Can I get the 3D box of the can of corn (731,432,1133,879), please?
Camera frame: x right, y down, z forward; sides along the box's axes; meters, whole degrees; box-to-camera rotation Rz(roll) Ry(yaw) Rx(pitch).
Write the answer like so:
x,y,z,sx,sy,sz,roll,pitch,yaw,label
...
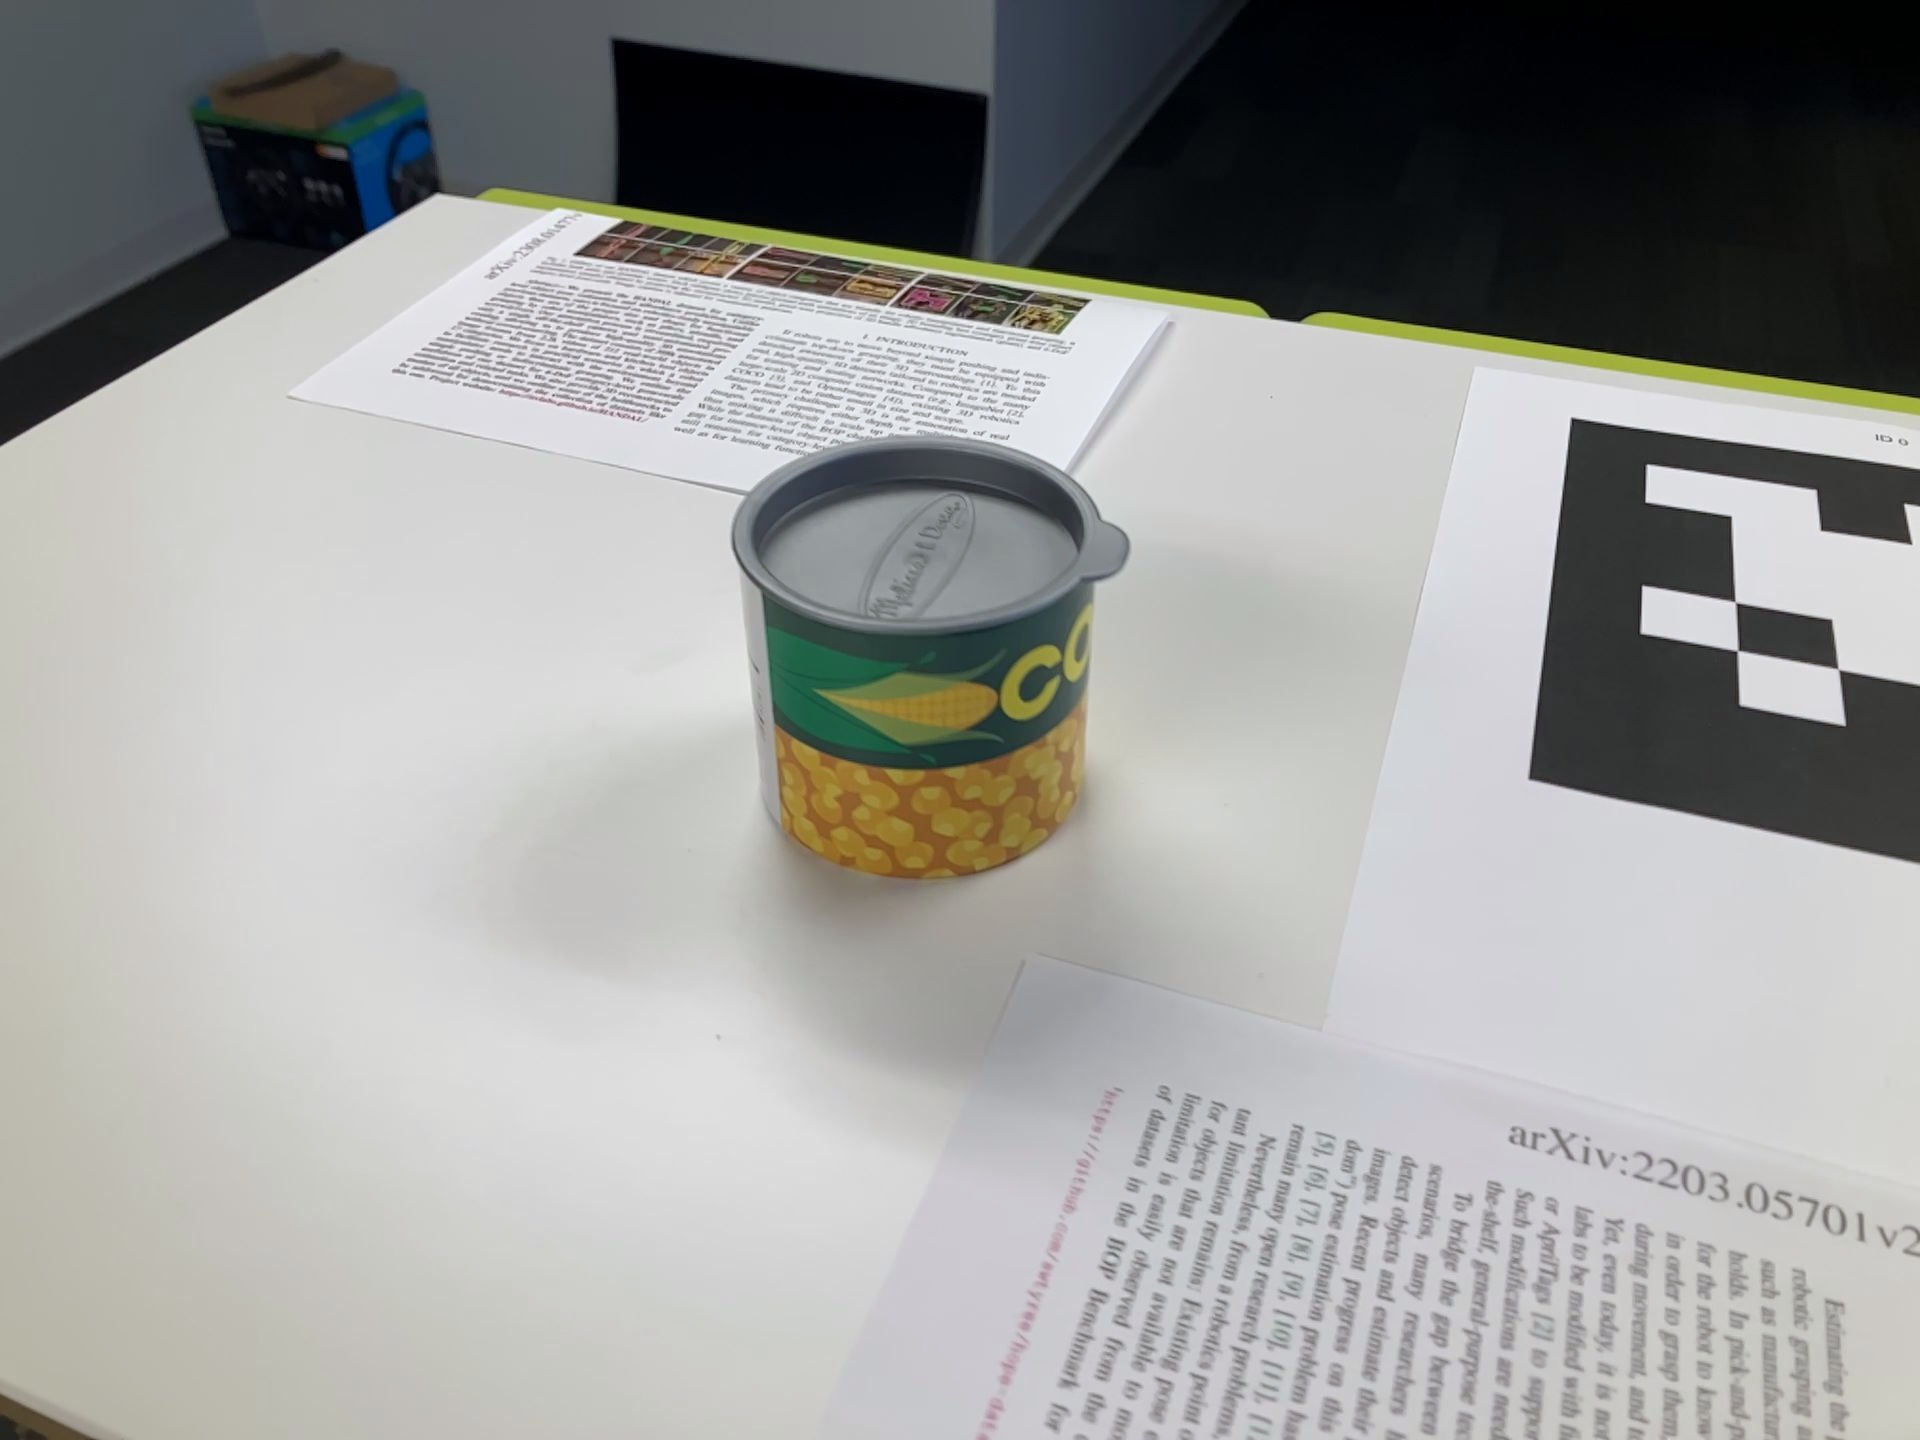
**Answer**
x,y,z,sx,sy,sz,roll,pitch,yaw,label
-0.005,-0.012,0.298,0.071,0.058,0.071,0,38,0,can of corn
